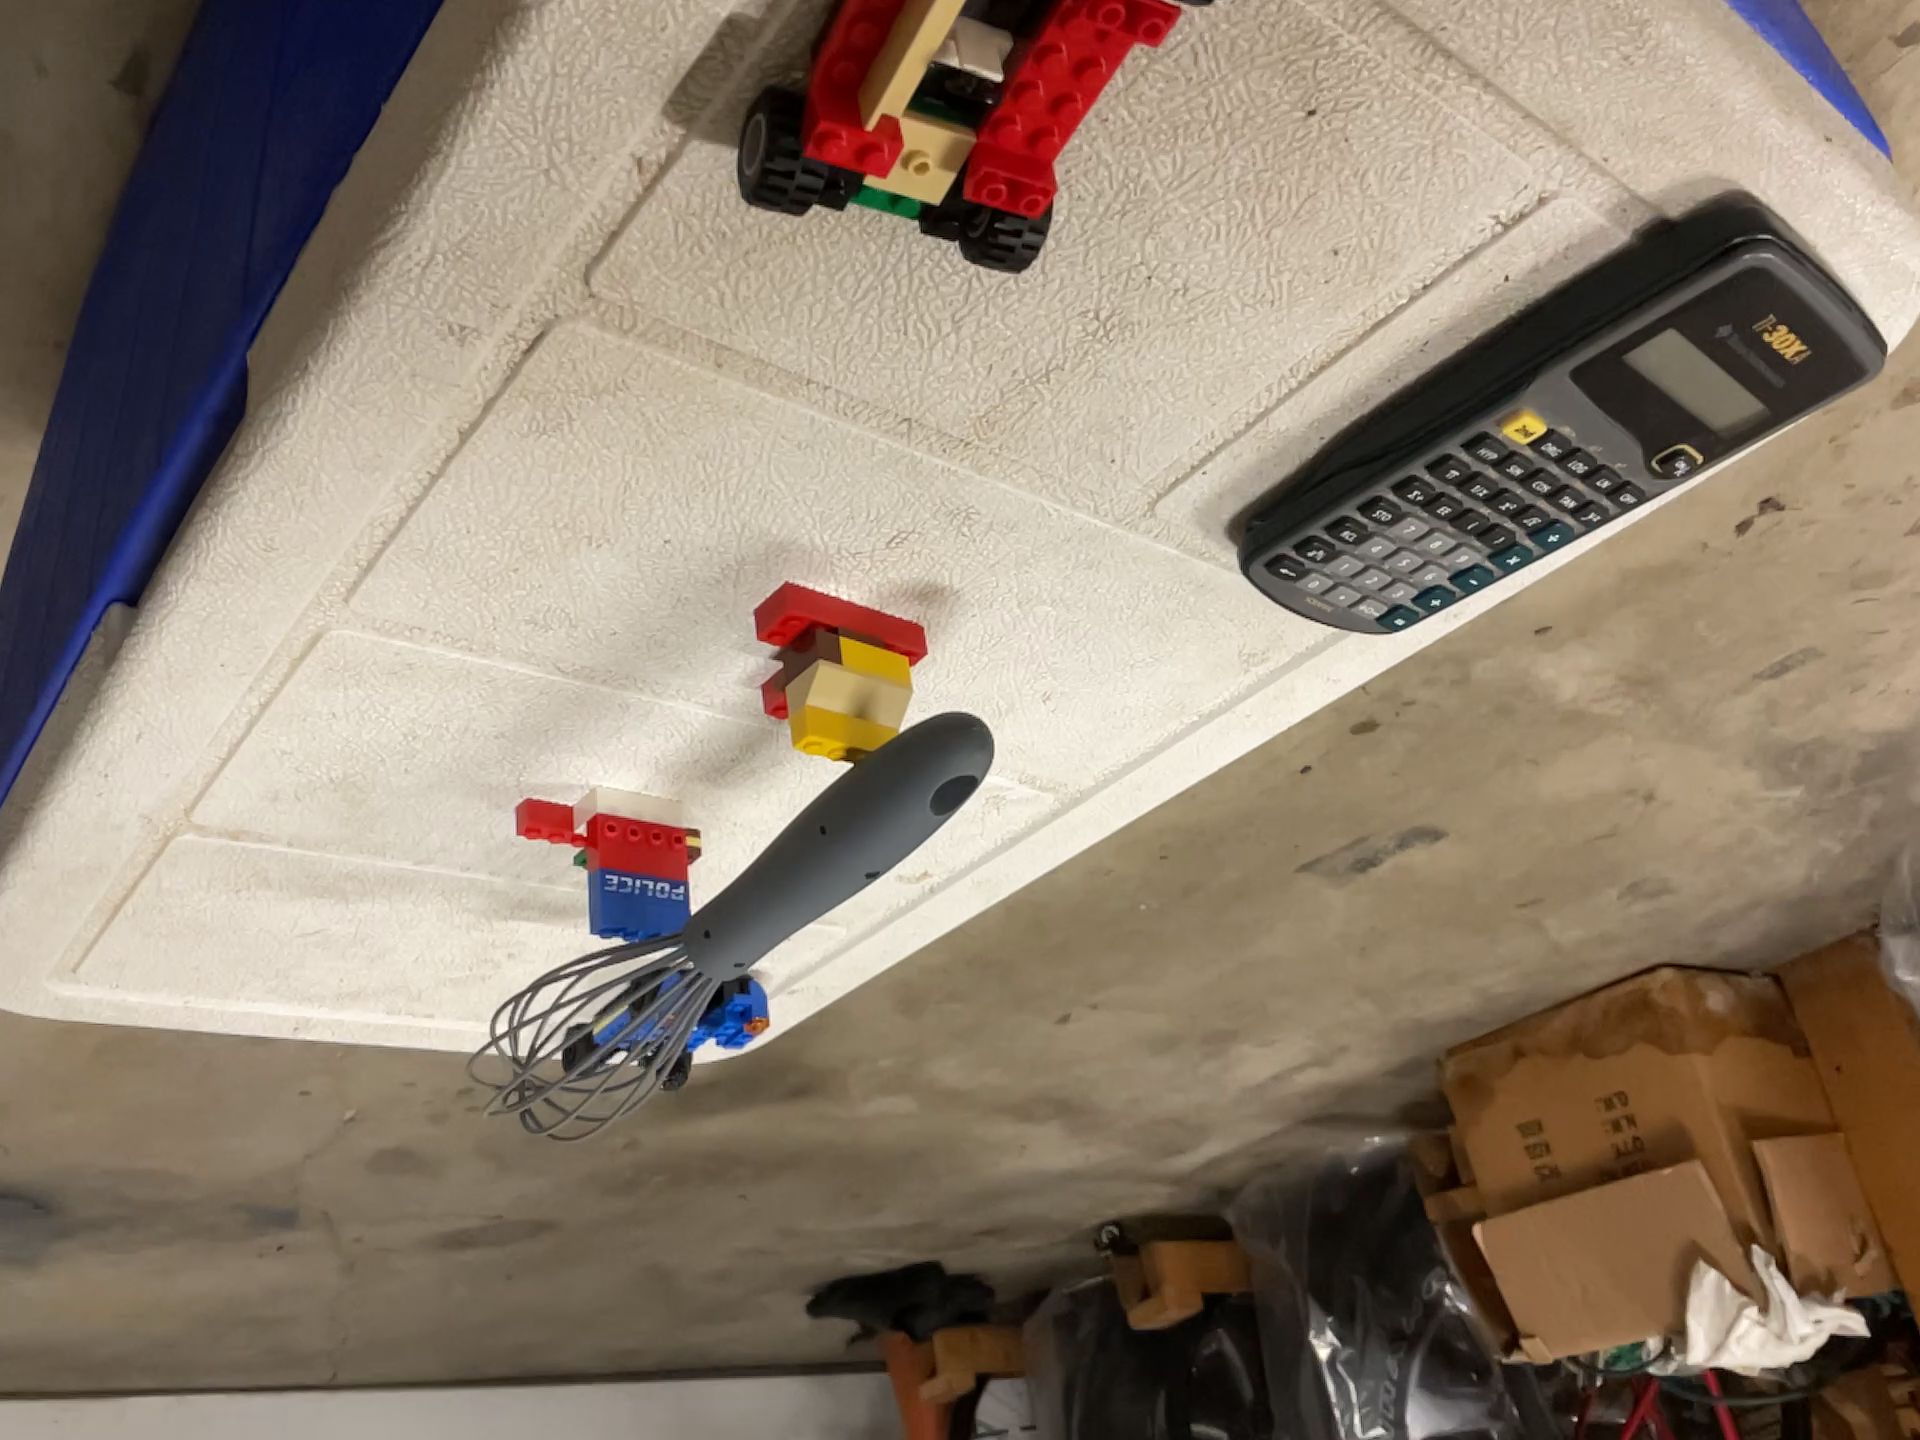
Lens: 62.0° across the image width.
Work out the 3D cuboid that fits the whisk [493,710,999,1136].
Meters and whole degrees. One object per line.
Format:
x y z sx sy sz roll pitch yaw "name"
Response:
-0.070 0.064 0.470 0.055 0.055 0.239 15 138 -41 "whisk"
